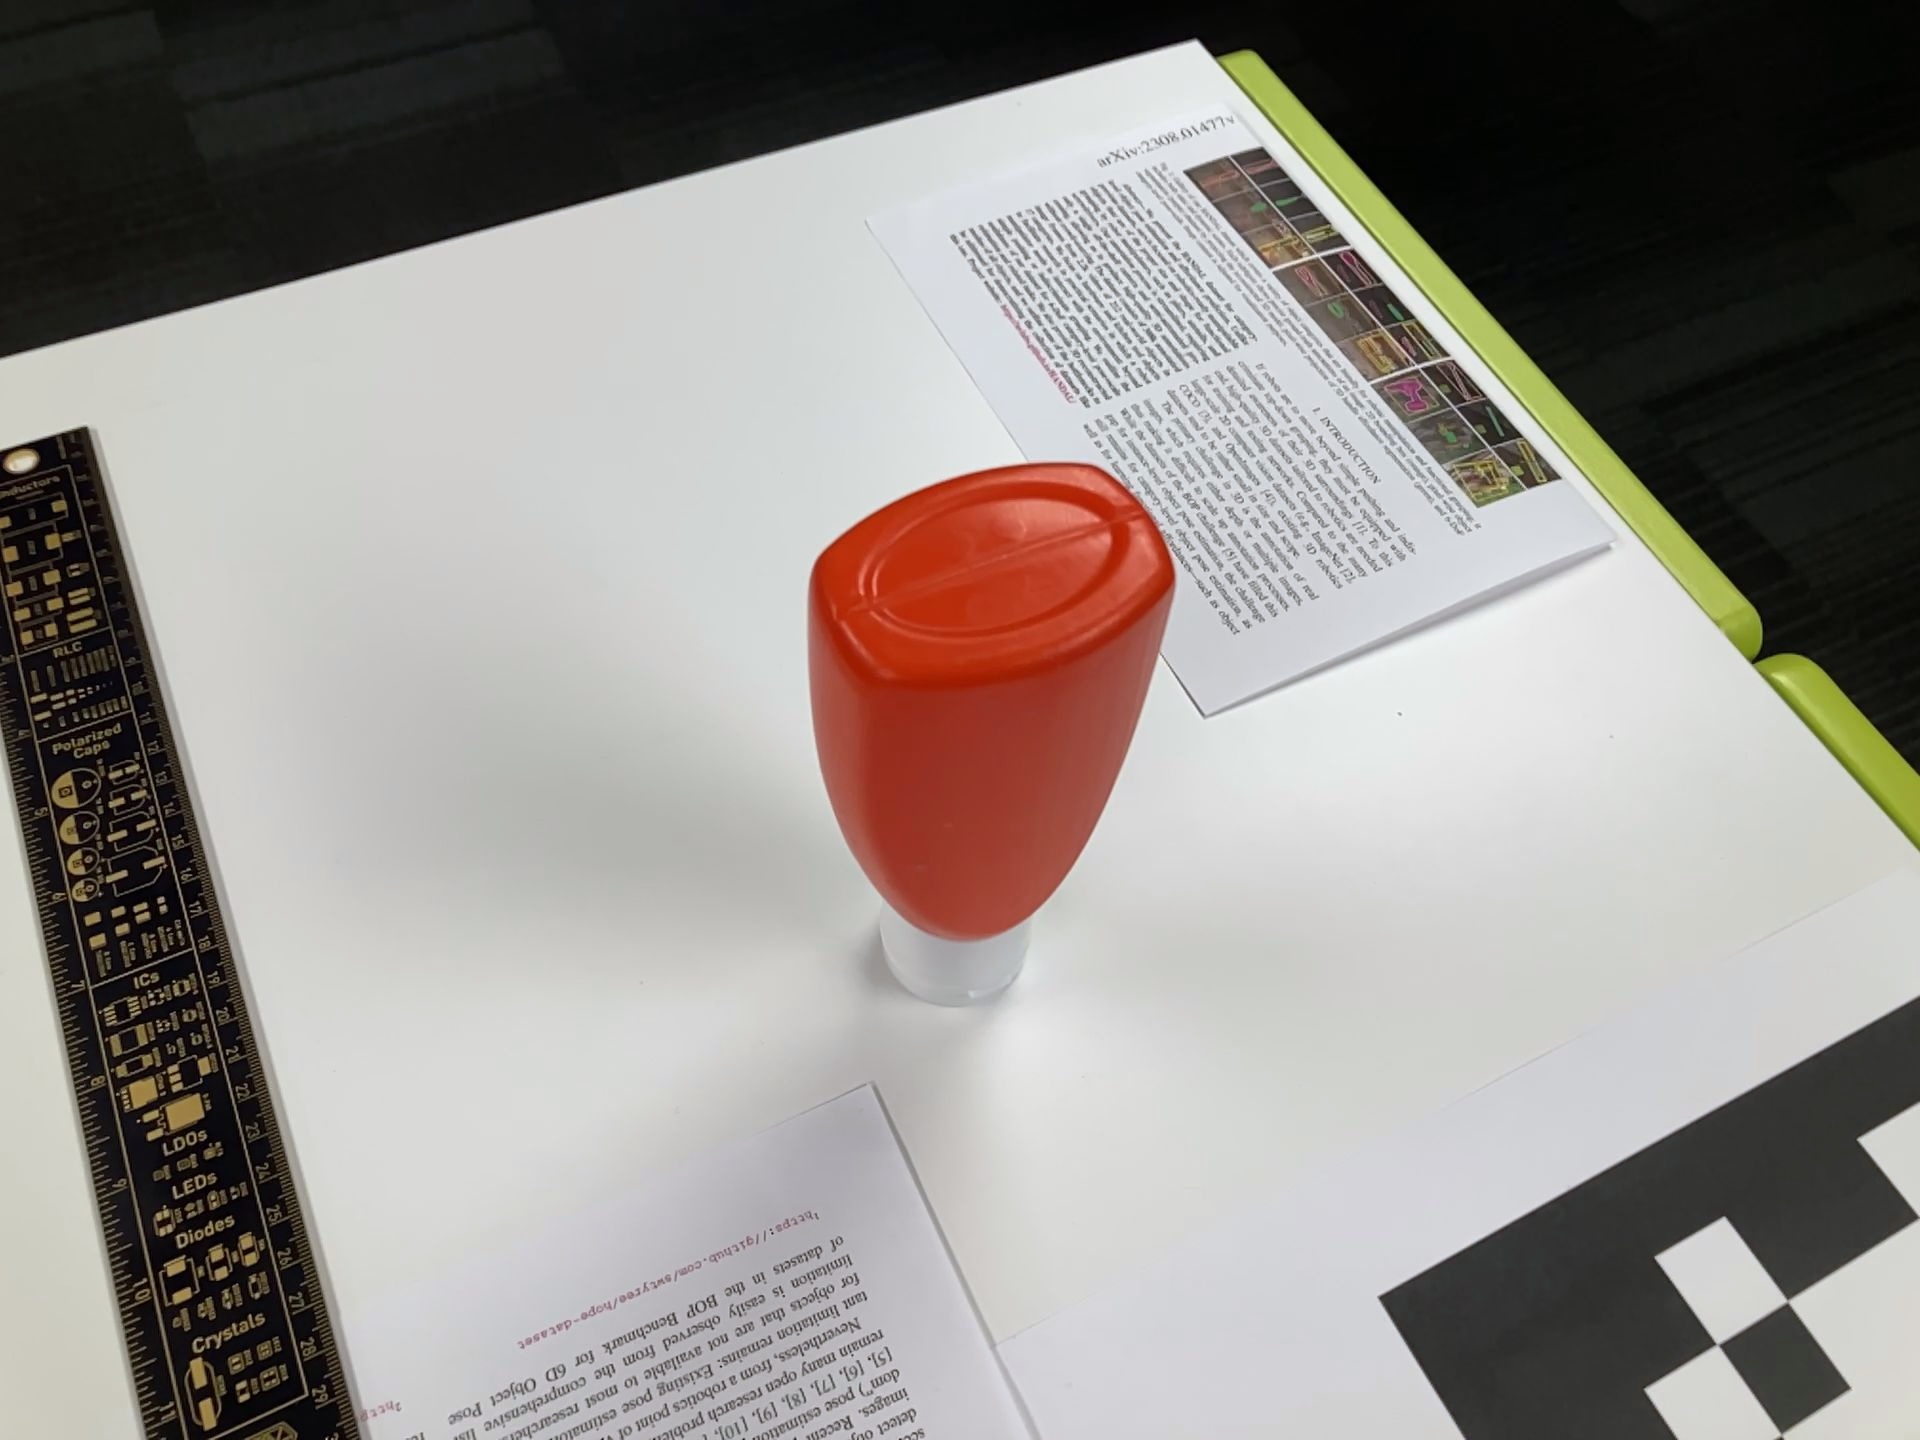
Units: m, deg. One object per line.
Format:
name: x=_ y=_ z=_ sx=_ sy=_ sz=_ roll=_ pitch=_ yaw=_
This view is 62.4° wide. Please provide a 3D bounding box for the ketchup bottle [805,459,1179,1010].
ketchup bottle: x=0.002 y=0.014 z=0.323 sx=0.065 sy=0.149 sz=0.043 roll=-20 pitch=60 yaw=-16
